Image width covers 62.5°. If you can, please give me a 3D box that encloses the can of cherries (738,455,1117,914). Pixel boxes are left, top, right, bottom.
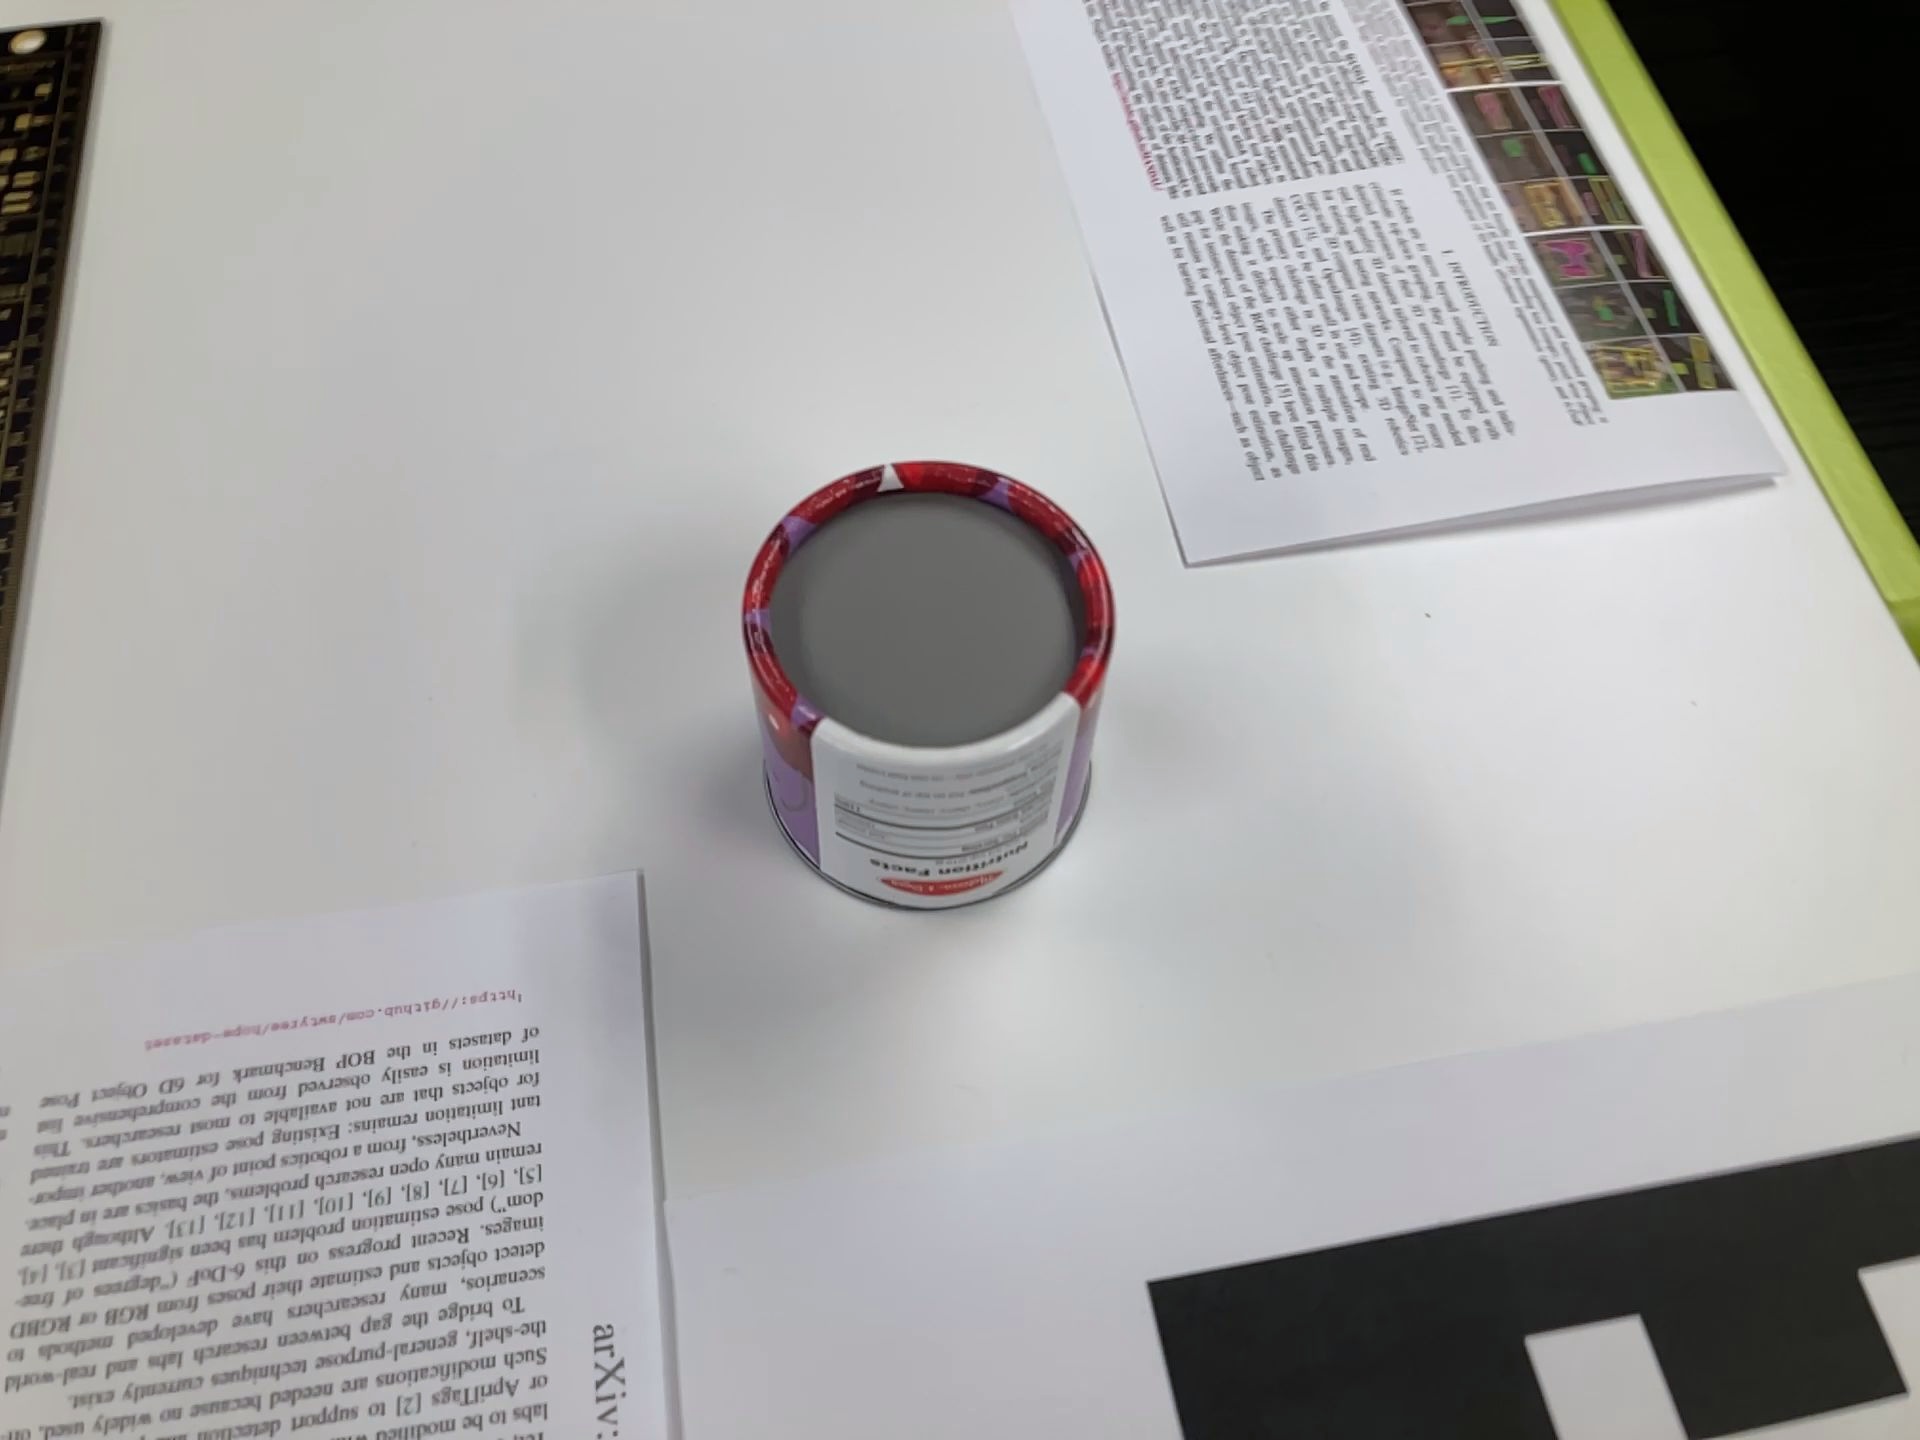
[{"bbox_3d":[-0.007,-0.008,0.295,0.071,0.058,0.071,0,59,0],"label":"can of cherries"}]
